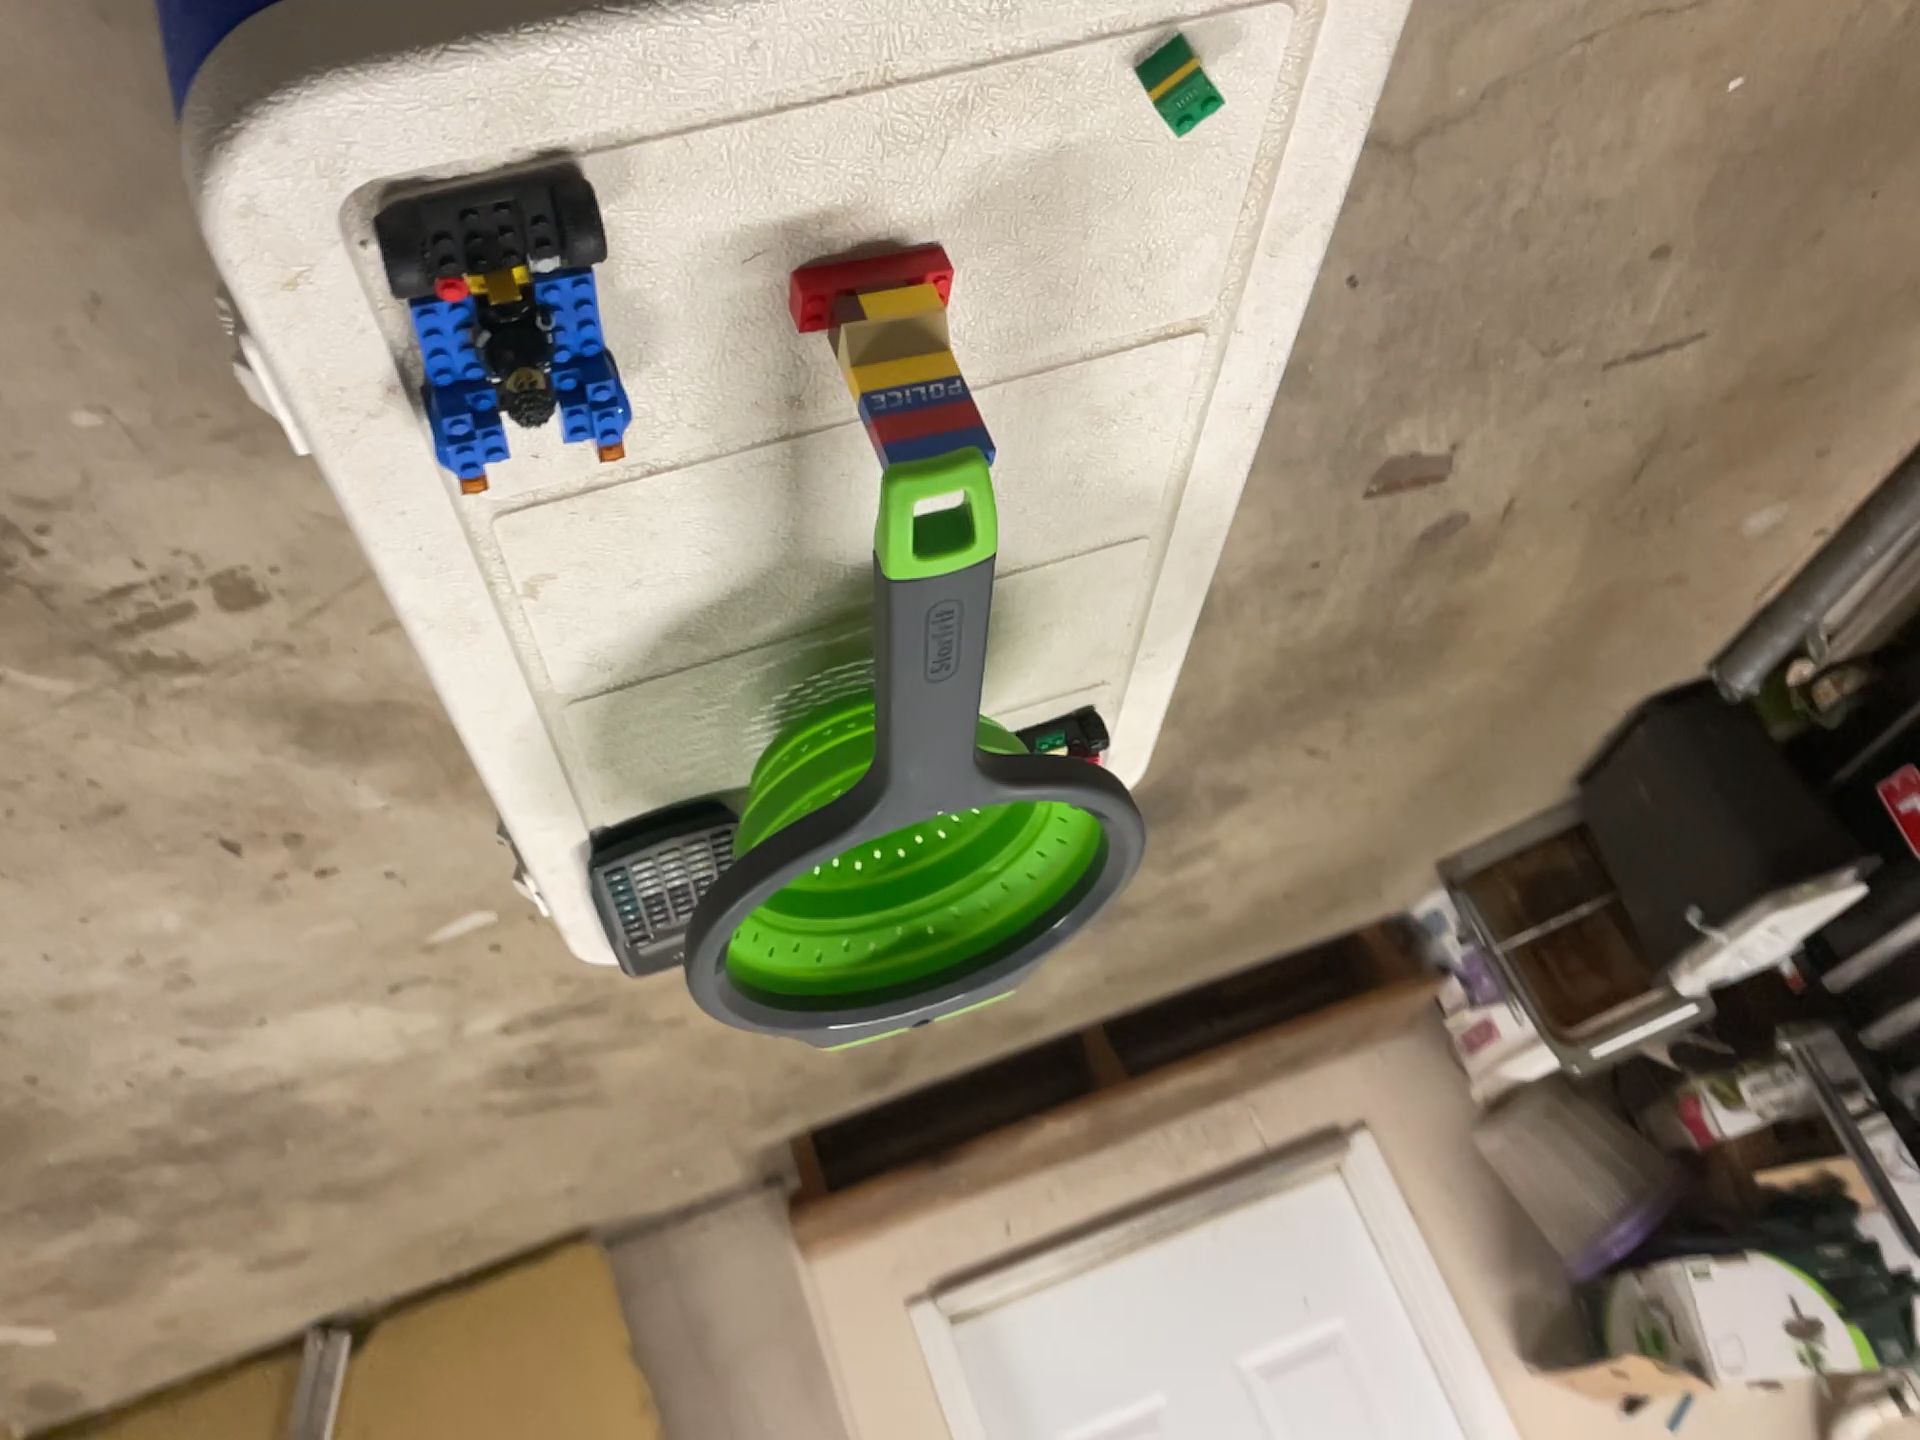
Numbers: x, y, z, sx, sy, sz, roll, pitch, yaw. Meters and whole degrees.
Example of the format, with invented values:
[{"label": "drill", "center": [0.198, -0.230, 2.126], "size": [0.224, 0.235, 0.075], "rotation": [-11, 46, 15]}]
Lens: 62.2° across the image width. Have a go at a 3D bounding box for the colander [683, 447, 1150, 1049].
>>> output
[{"label": "colander", "center": [-0.025, 0.007, 0.631], "size": [0.205, 0.095, 0.396], "rotation": [-14, 149, -12]}]
